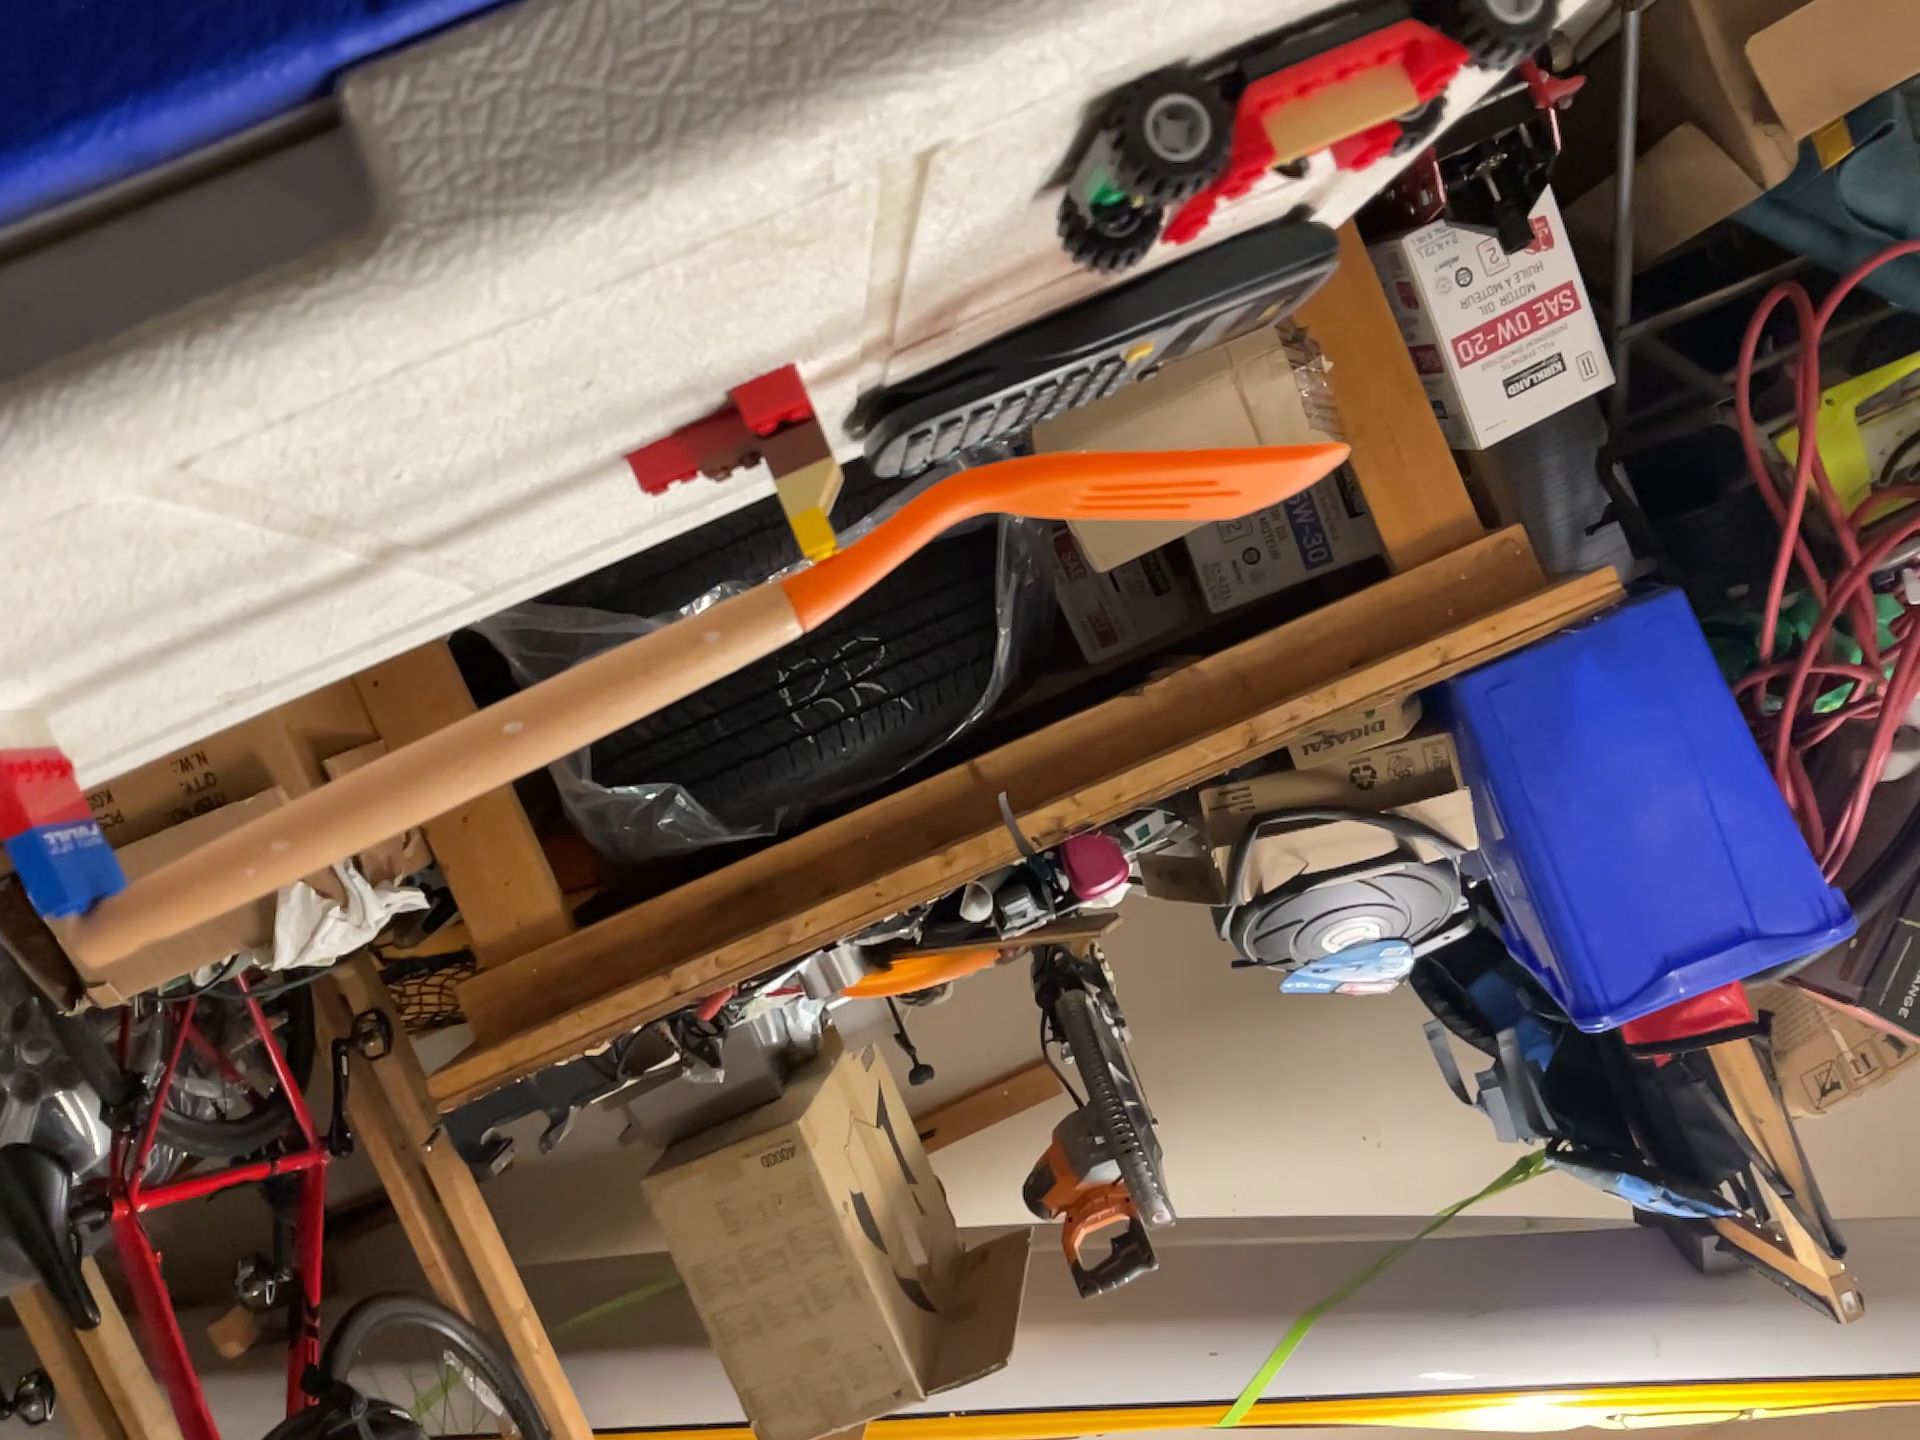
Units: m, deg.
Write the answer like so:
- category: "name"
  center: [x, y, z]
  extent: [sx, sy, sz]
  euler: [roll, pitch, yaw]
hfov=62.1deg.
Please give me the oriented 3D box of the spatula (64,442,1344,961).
- category: "spatula"
  center: [-0.061, -0.010, 0.396]
  extent: [0.322, 0.041, 0.081]
  euler: [-26, 180, -6]
